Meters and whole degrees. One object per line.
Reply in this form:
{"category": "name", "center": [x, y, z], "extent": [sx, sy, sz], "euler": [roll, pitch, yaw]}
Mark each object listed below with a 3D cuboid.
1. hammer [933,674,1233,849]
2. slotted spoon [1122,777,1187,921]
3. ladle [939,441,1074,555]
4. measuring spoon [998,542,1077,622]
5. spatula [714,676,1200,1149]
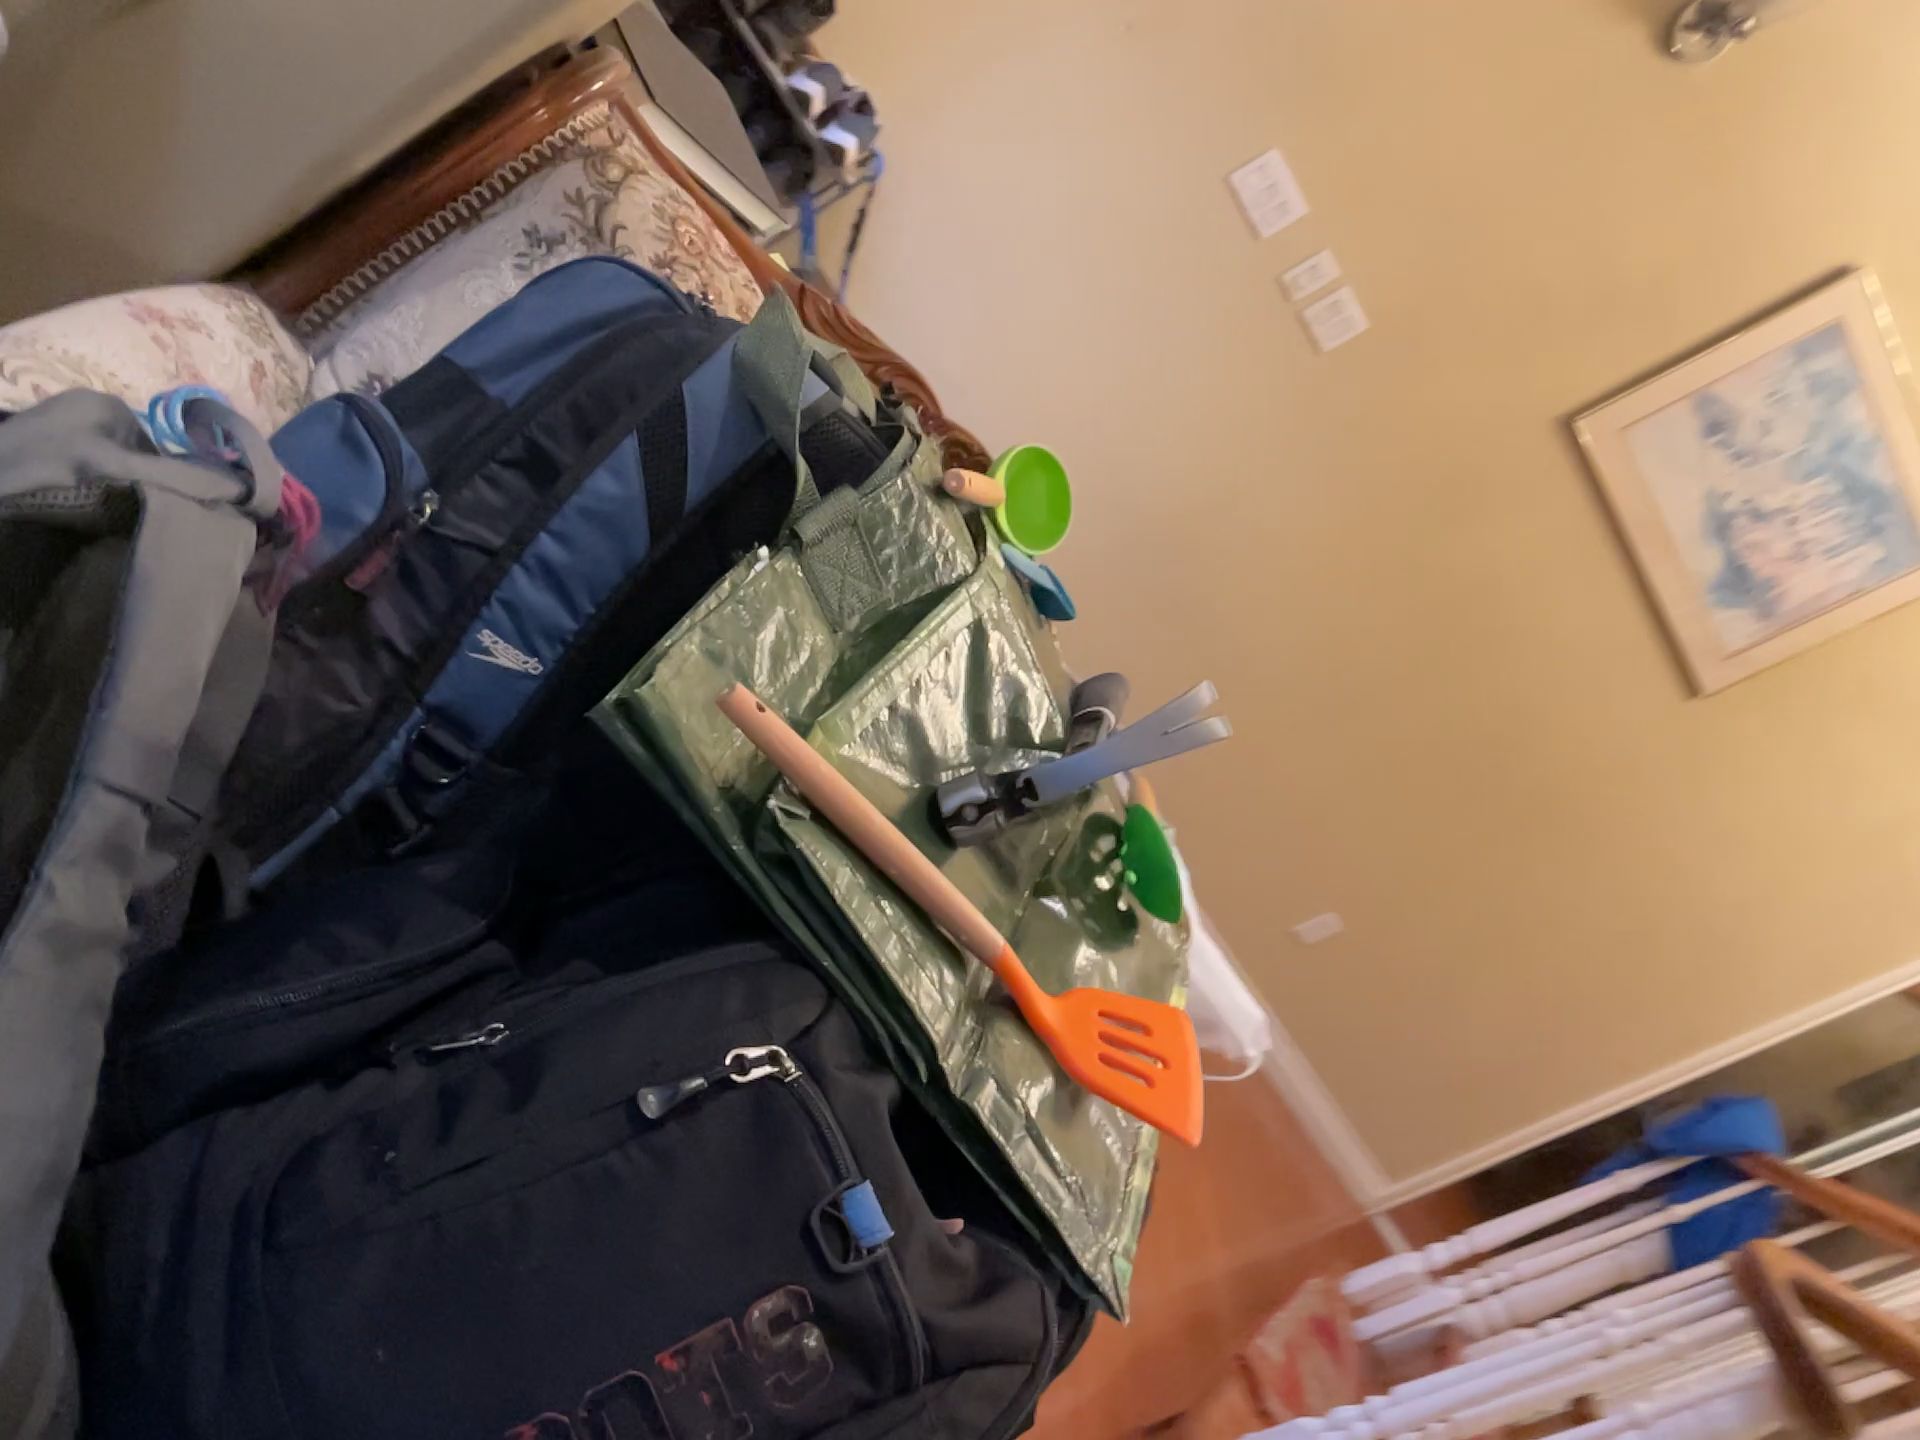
{"category": "hammer", "center": [0.083, 0.002, 0.964], "extent": [0.409, 0.149, 0.036], "euler": [-42, 111, -80]}
{"category": "slotted spoon", "center": [0.116, 0.066, 1.003], "extent": [0.314, 0.031, 0.070], "euler": [-56, 131, -82]}
{"category": "ladle", "center": [0.029, -0.139, 0.967], "extent": [0.320, 0.062, 0.078], "euler": [-36, 122, -80]}
{"category": "measuring spoon", "center": [0.041, -0.086, 0.985], "extent": [0.042, 0.021, 0.128], "euler": [64, 15, 18]}
{"category": "spatula", "center": [0.007, 0.086, 0.713], "extent": [0.322, 0.041, 0.081], "euler": [47, 29, -29]}
